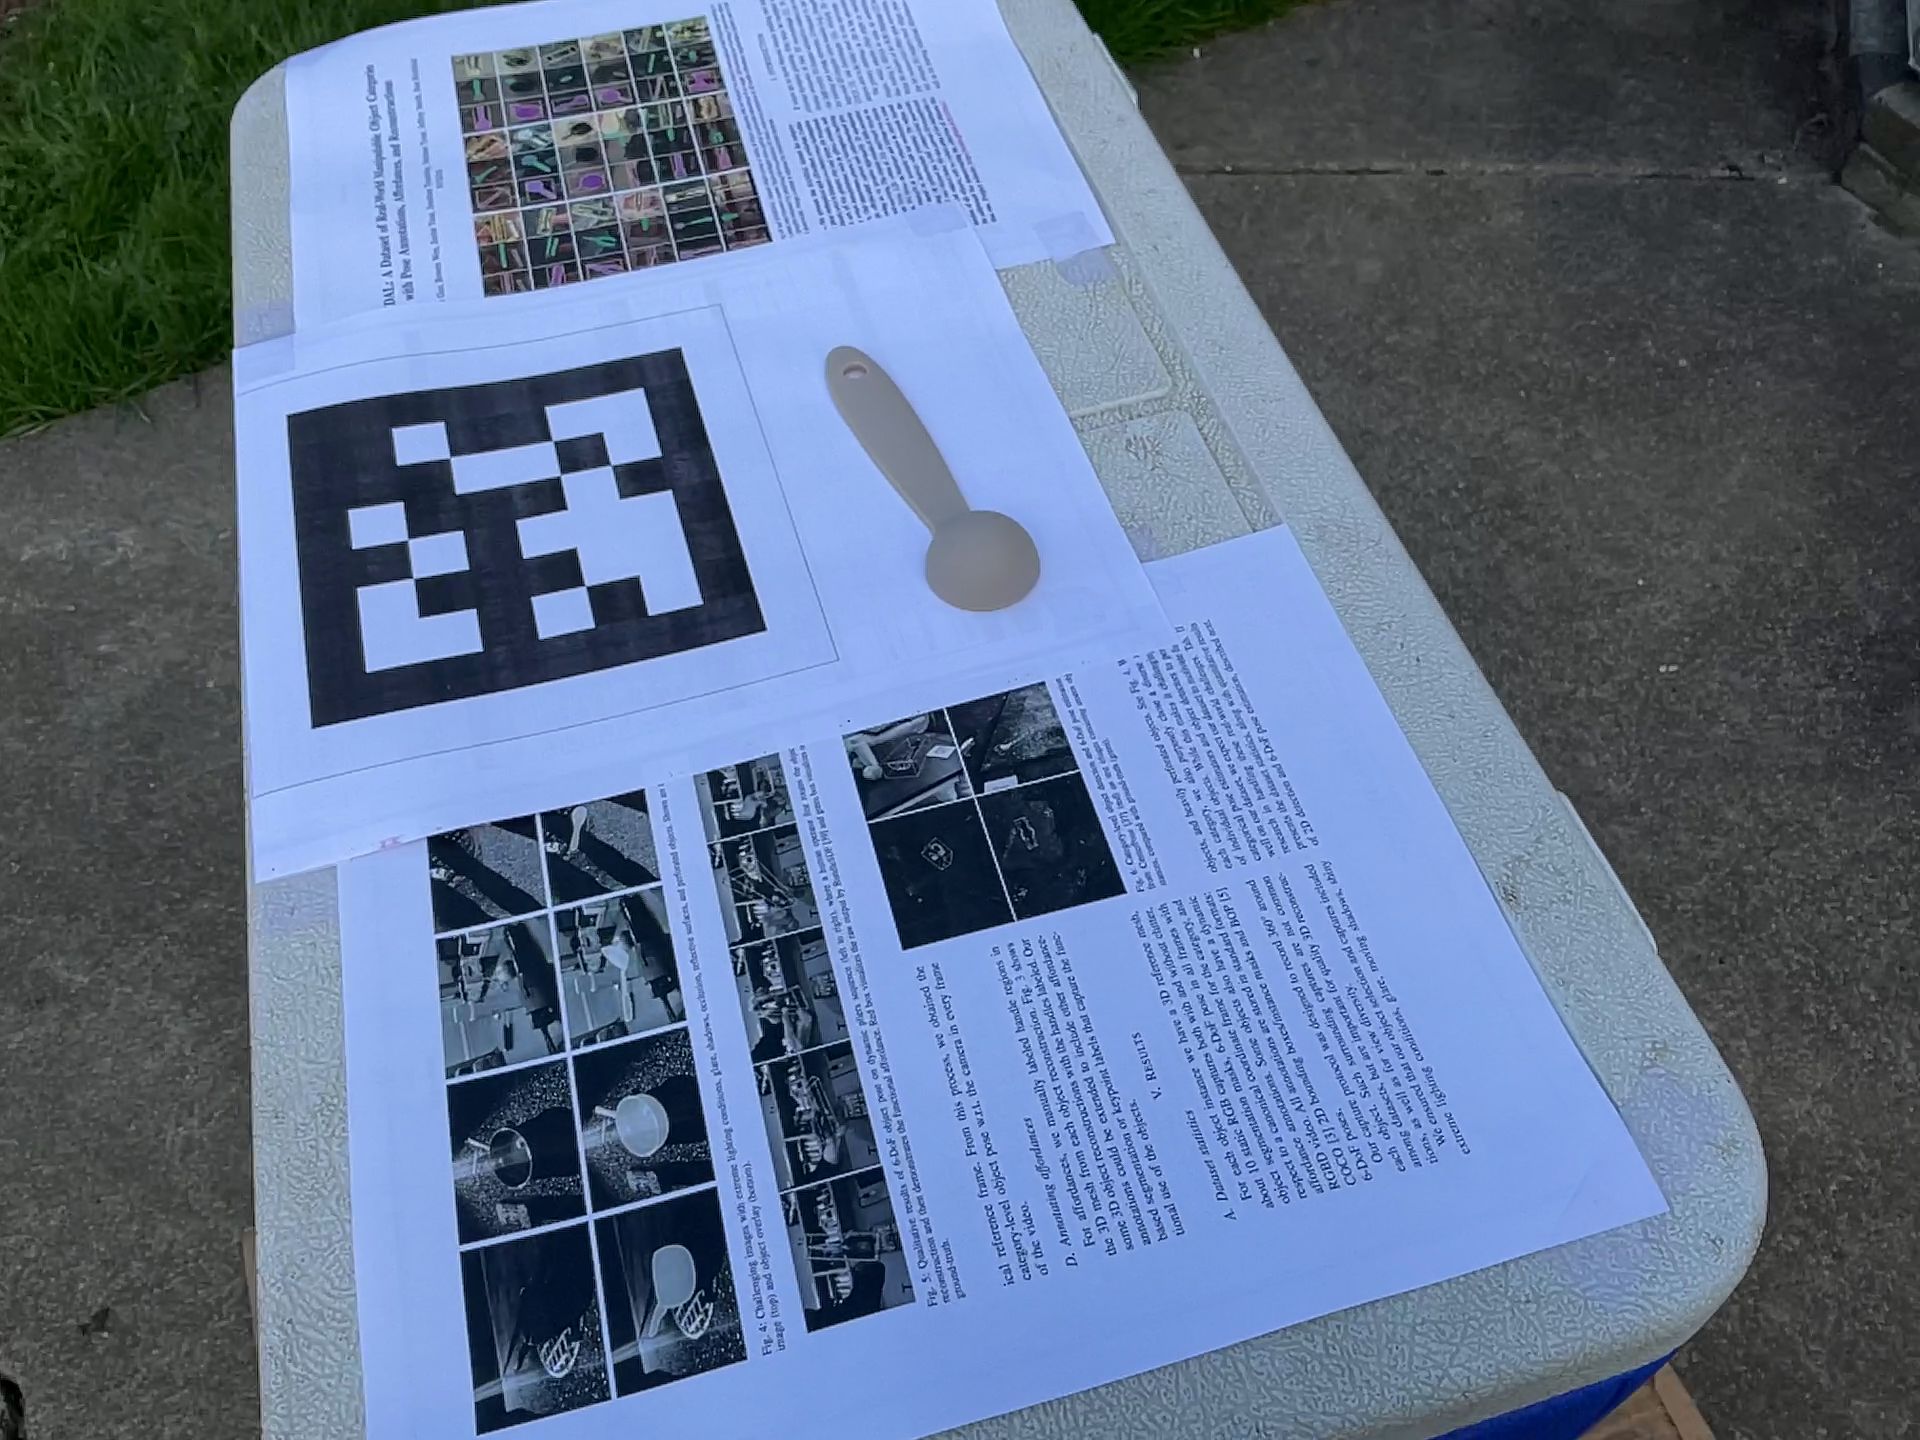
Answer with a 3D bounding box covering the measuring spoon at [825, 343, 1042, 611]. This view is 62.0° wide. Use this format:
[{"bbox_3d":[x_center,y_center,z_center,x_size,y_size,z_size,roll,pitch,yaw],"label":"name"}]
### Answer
[{"bbox_3d":[-0.014,-0.081,0.485,0.034,0.018,0.124,-23,56,-13],"label":"measuring spoon"}]
